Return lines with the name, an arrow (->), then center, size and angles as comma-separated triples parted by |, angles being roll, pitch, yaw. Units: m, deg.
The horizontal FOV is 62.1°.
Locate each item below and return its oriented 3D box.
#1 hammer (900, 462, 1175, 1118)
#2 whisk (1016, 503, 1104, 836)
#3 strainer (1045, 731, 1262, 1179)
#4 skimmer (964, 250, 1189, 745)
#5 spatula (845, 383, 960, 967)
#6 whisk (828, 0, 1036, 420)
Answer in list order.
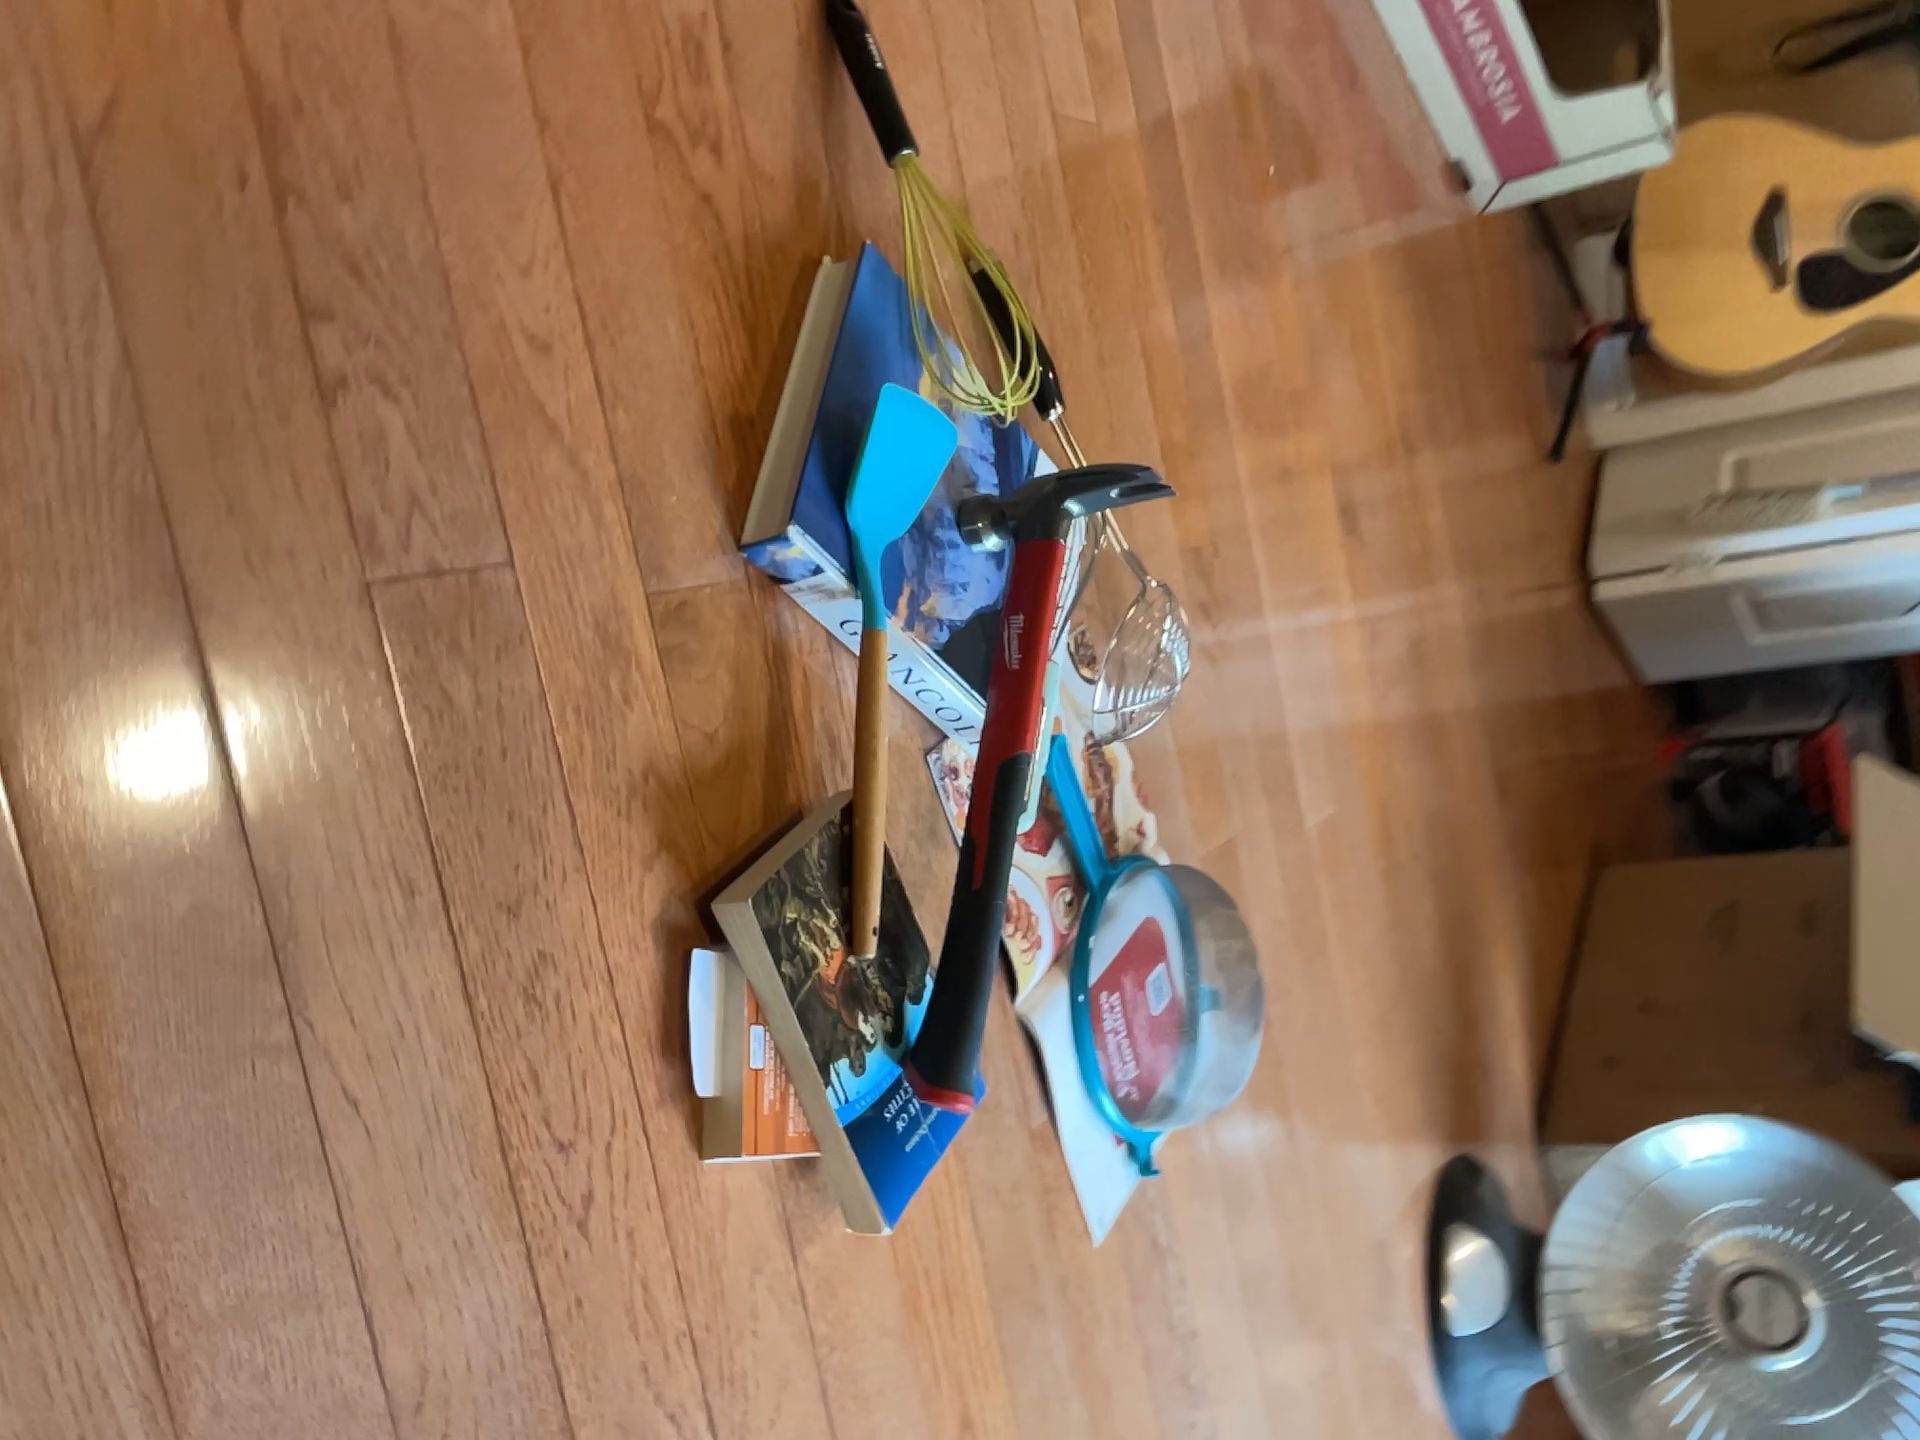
hammer -> 0.034, 0.030, 0.908 | 0.038, 0.143, 0.387 | 34, 58, -45
whisk -> 0.052, -0.043, 1.032 | 0.059, 0.057, 0.247 | 82, 17, -70
strainer -> 0.144, 0.150, 1.125 | 0.211, 0.095, 0.340 | -54, 134, -47
skimmer -> 0.071, -0.157, 1.163 | 0.127, 0.090, 0.363 | -37, 103, -51
spatula -> -0.041, -0.024, 0.877 | 0.082, 0.044, 0.318 | 23, 63, -55
whisk -> -0.027, -0.327, 0.995 | 0.080, 0.067, 0.312 | -13, 79, -42
